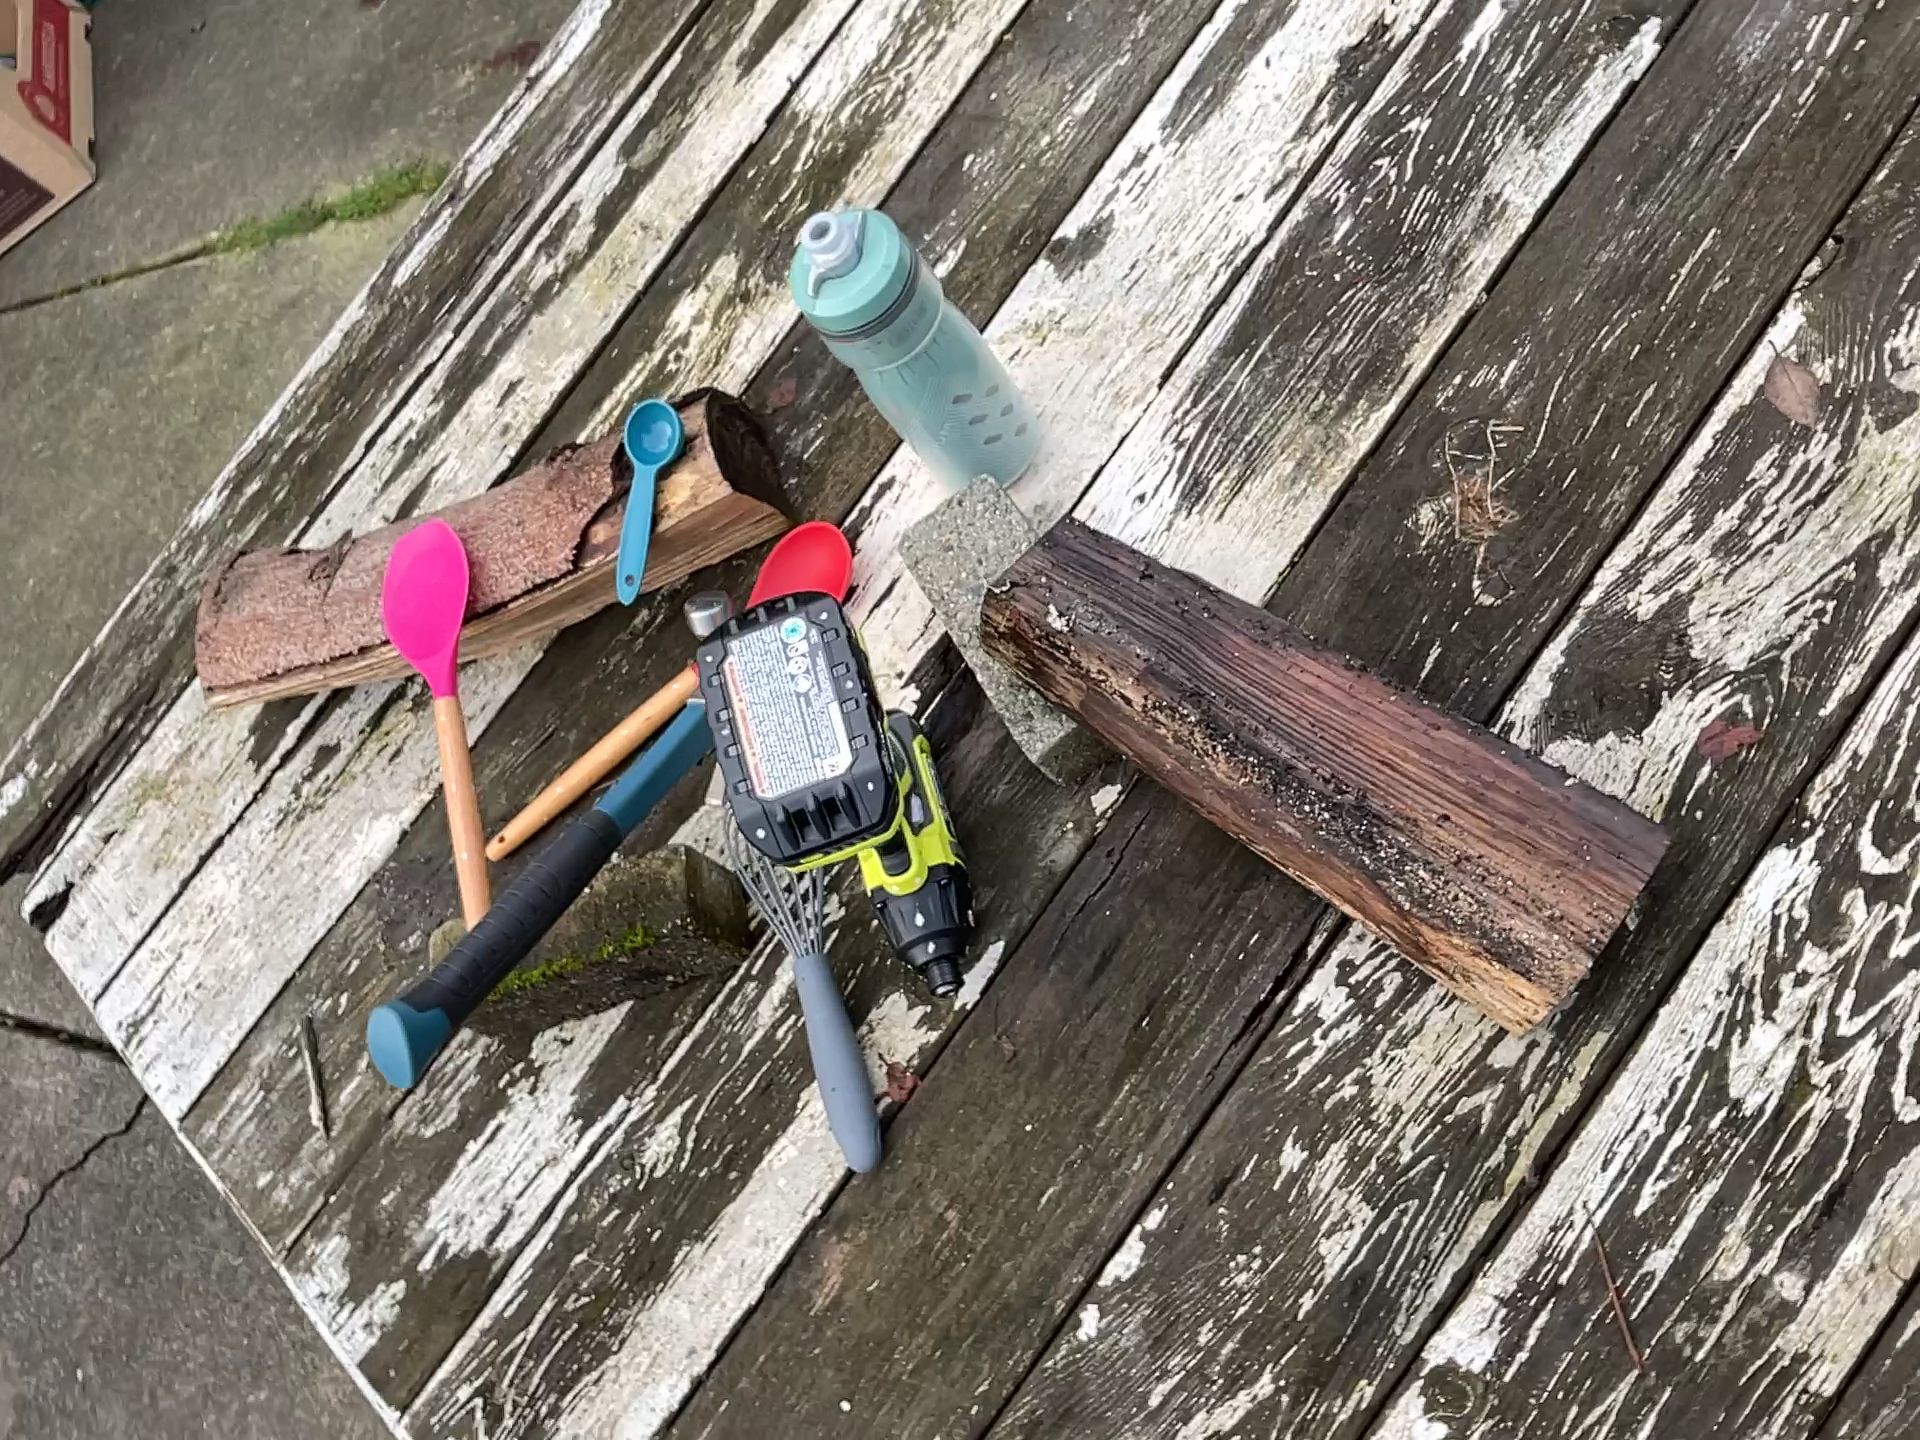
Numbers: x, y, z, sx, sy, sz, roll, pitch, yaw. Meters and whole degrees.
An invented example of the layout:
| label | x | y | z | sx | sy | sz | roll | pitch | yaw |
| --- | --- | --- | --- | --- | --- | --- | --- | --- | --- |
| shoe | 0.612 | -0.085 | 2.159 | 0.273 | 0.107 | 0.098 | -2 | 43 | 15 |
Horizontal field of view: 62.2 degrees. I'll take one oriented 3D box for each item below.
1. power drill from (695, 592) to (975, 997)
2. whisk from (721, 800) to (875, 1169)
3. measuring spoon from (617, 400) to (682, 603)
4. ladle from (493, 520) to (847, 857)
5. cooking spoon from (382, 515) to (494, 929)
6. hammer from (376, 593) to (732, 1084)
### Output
| label | x | y | z | sx | sy | sz | roll | pitch | yaw |
| --- | --- | --- | --- | --- | --- | --- | --- | --- | --- |
| power drill | -0.051 | 0.044 | 0.841 | 0.080 | 0.223 | 0.171 | -22 | 62 | 7 |
| whisk | -0.091 | 0.142 | 0.915 | 0.055 | 0.055 | 0.239 | -30 | 62 | 20 |
| measuring spoon | -0.198 | -0.137 | 1.013 | 0.042 | 0.021 | 0.128 | 13 | 96 | 29 |
| ladle | -0.191 | -0.014 | 1.048 | 0.315 | 0.031 | 0.069 | -41 | 60 | 7 |
| cooking spoon | -0.320 | 0.008 | 1.003 | 0.069 | 0.017 | 0.319 | -23 | 65 | 14 |
| hammer | -0.209 | 0.069 | 0.903 | 0.033 | 0.128 | 0.331 | 7 | 40 | 29 |
